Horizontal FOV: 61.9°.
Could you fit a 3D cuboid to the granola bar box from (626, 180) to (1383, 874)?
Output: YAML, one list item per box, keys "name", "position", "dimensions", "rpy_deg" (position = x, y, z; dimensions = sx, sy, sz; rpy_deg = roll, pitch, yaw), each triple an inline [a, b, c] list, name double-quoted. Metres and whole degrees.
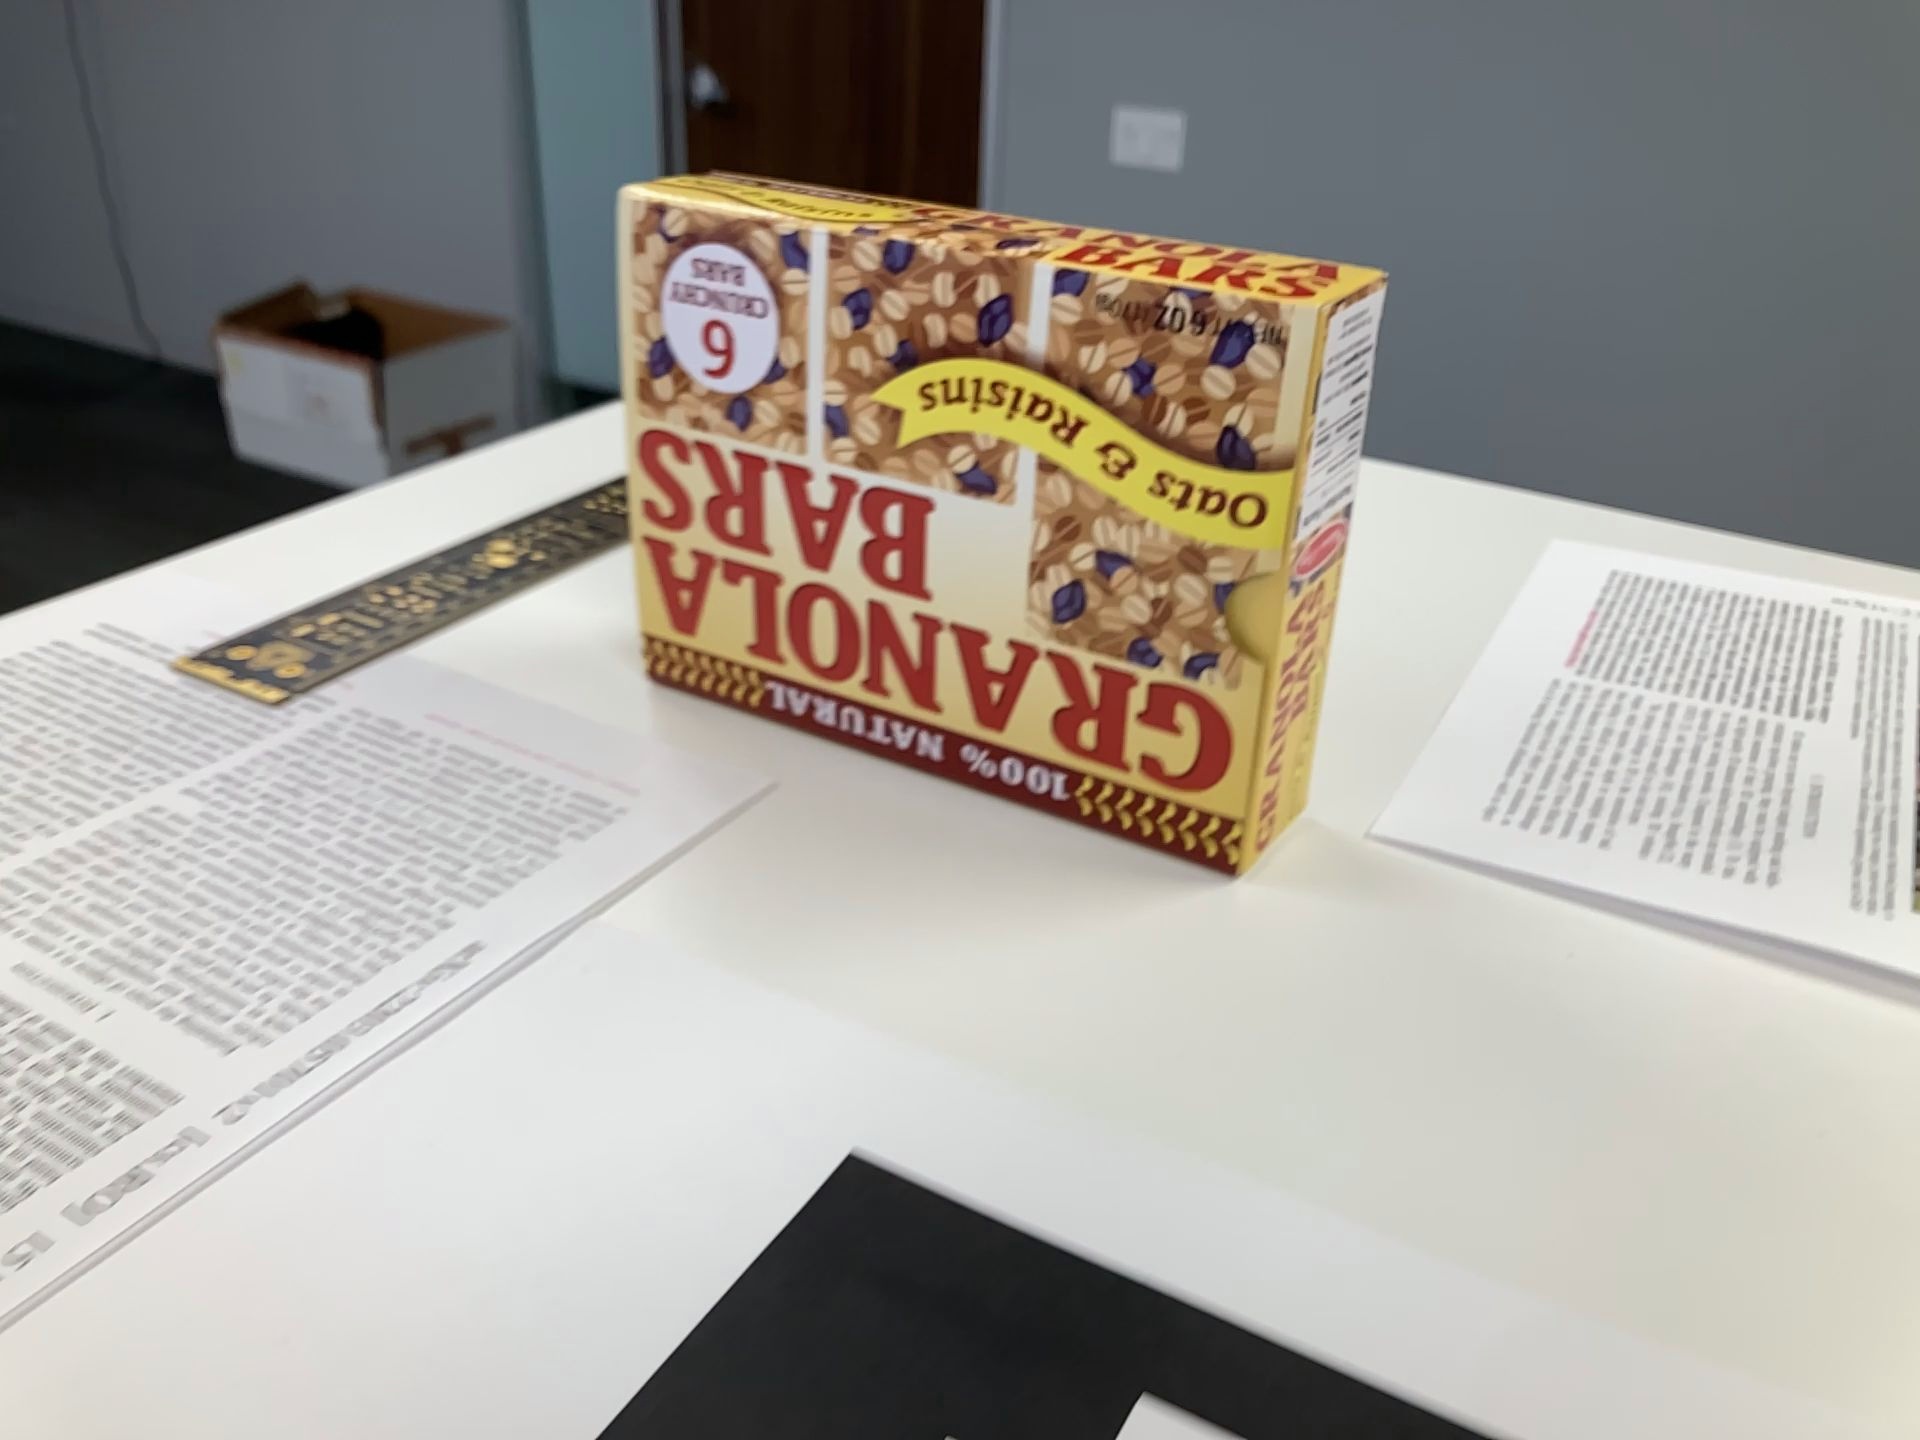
- name: "granola bar box"
  position: [0.001, -0.048, 0.364]
  dimensions: [0.165, 0.124, 0.039]
  rpy_deg: [17, 31, 26]
